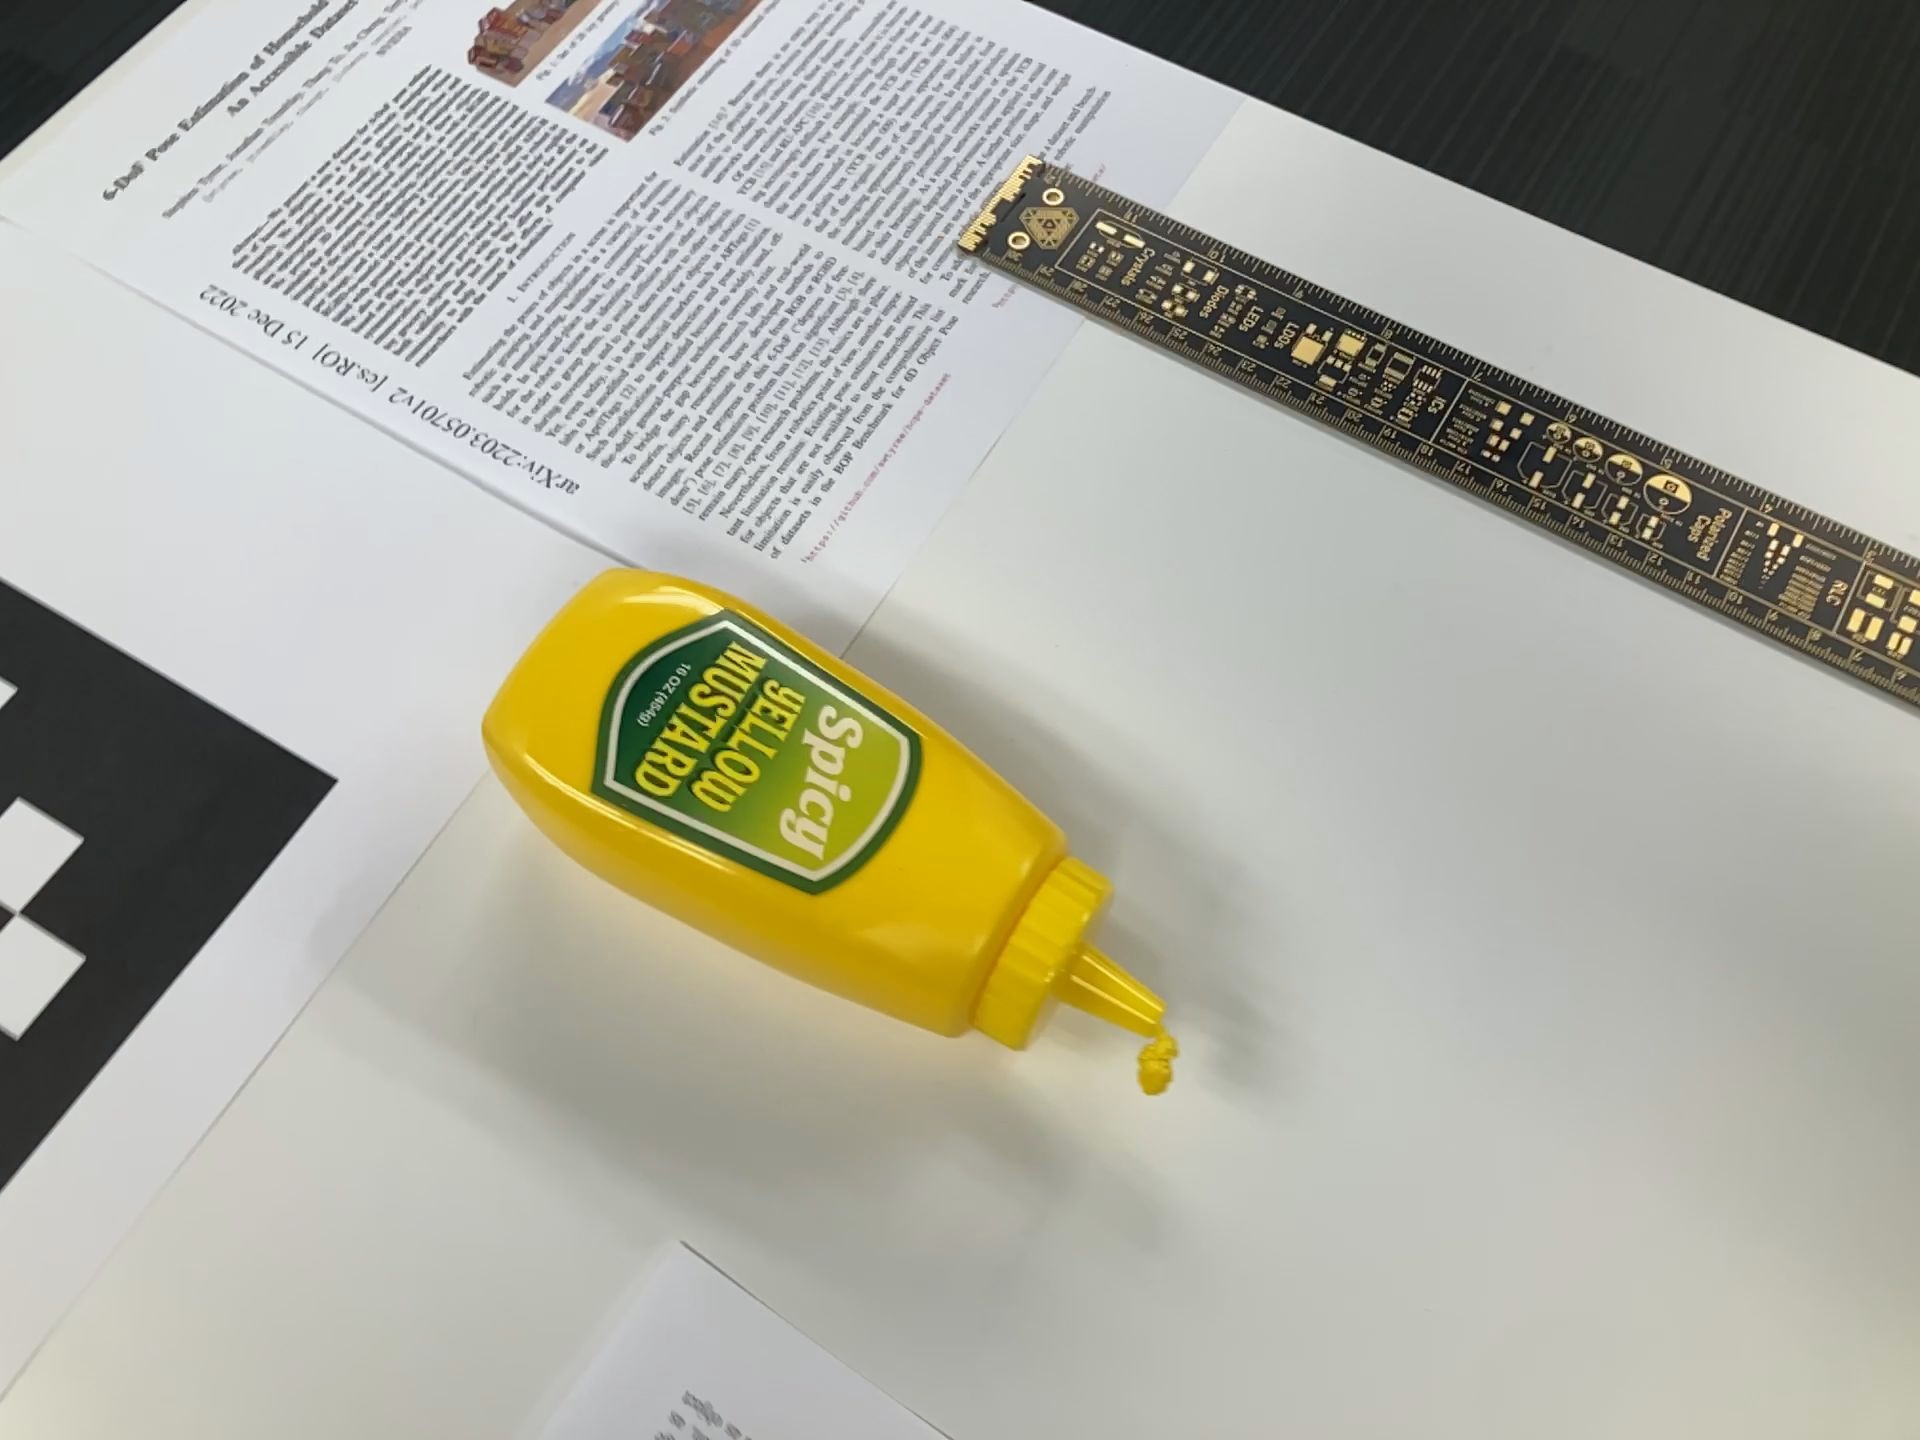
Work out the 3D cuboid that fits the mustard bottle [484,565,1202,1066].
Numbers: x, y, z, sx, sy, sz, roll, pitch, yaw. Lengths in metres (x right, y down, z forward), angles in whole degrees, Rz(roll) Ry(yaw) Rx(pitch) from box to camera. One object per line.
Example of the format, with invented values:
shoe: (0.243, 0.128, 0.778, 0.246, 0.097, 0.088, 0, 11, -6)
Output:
mustard bottle: (-0.020, 0.026, 0.330, 0.160, 0.049, 0.065, 28, 68, 13)
